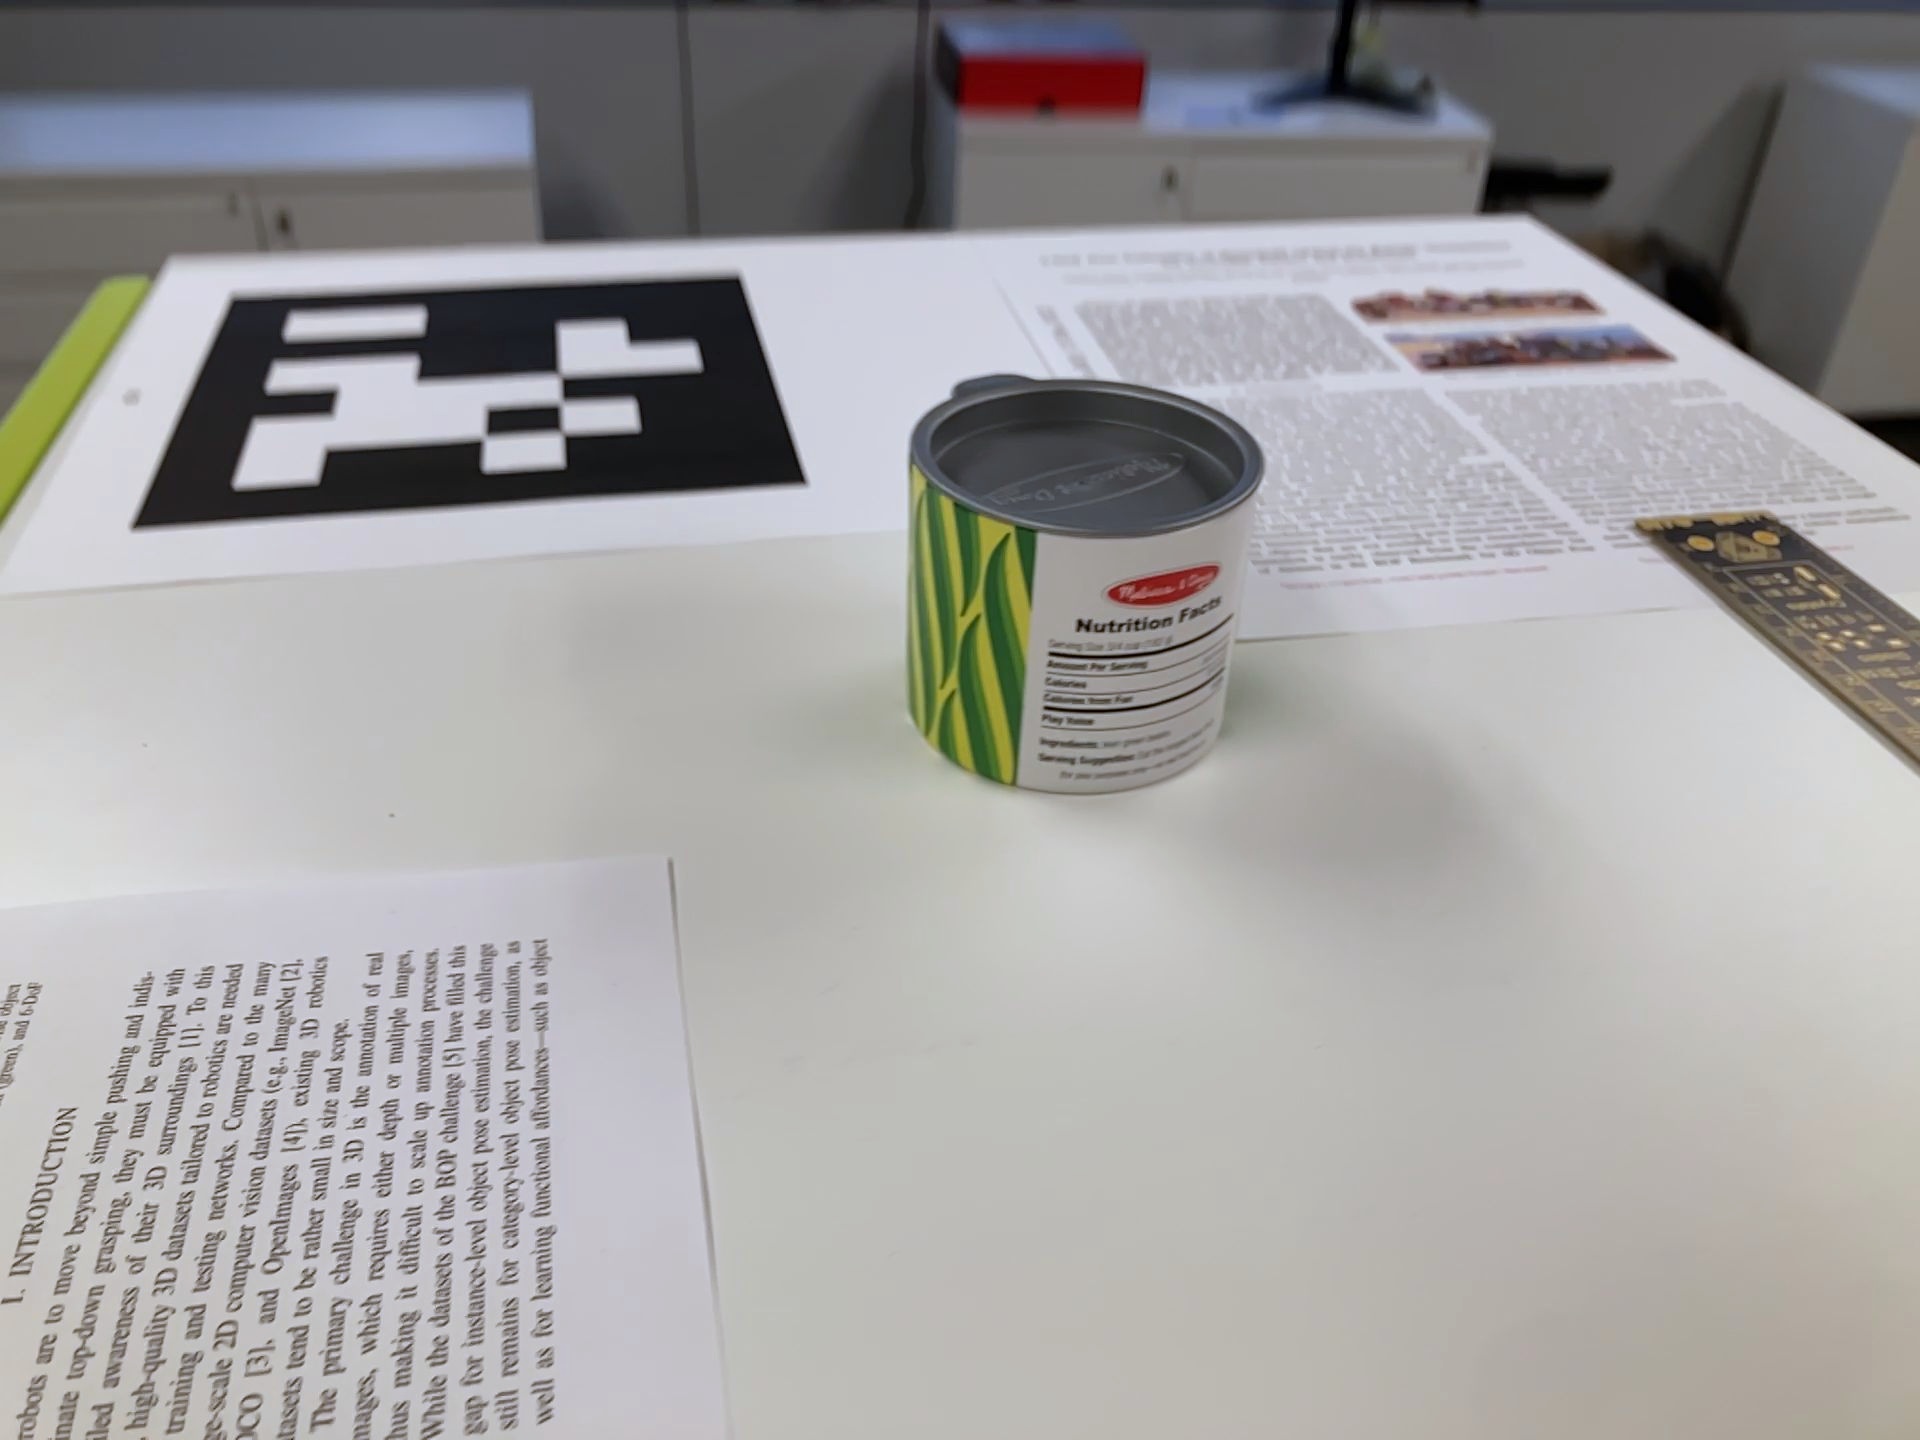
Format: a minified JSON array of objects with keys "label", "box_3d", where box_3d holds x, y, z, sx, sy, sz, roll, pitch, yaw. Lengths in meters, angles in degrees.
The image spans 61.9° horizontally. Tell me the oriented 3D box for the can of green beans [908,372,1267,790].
[{"label":"can of green beans","box_3d":[0.023,-0.028,0.316,0.071,0.058,0.071,2,34,-1]}]
